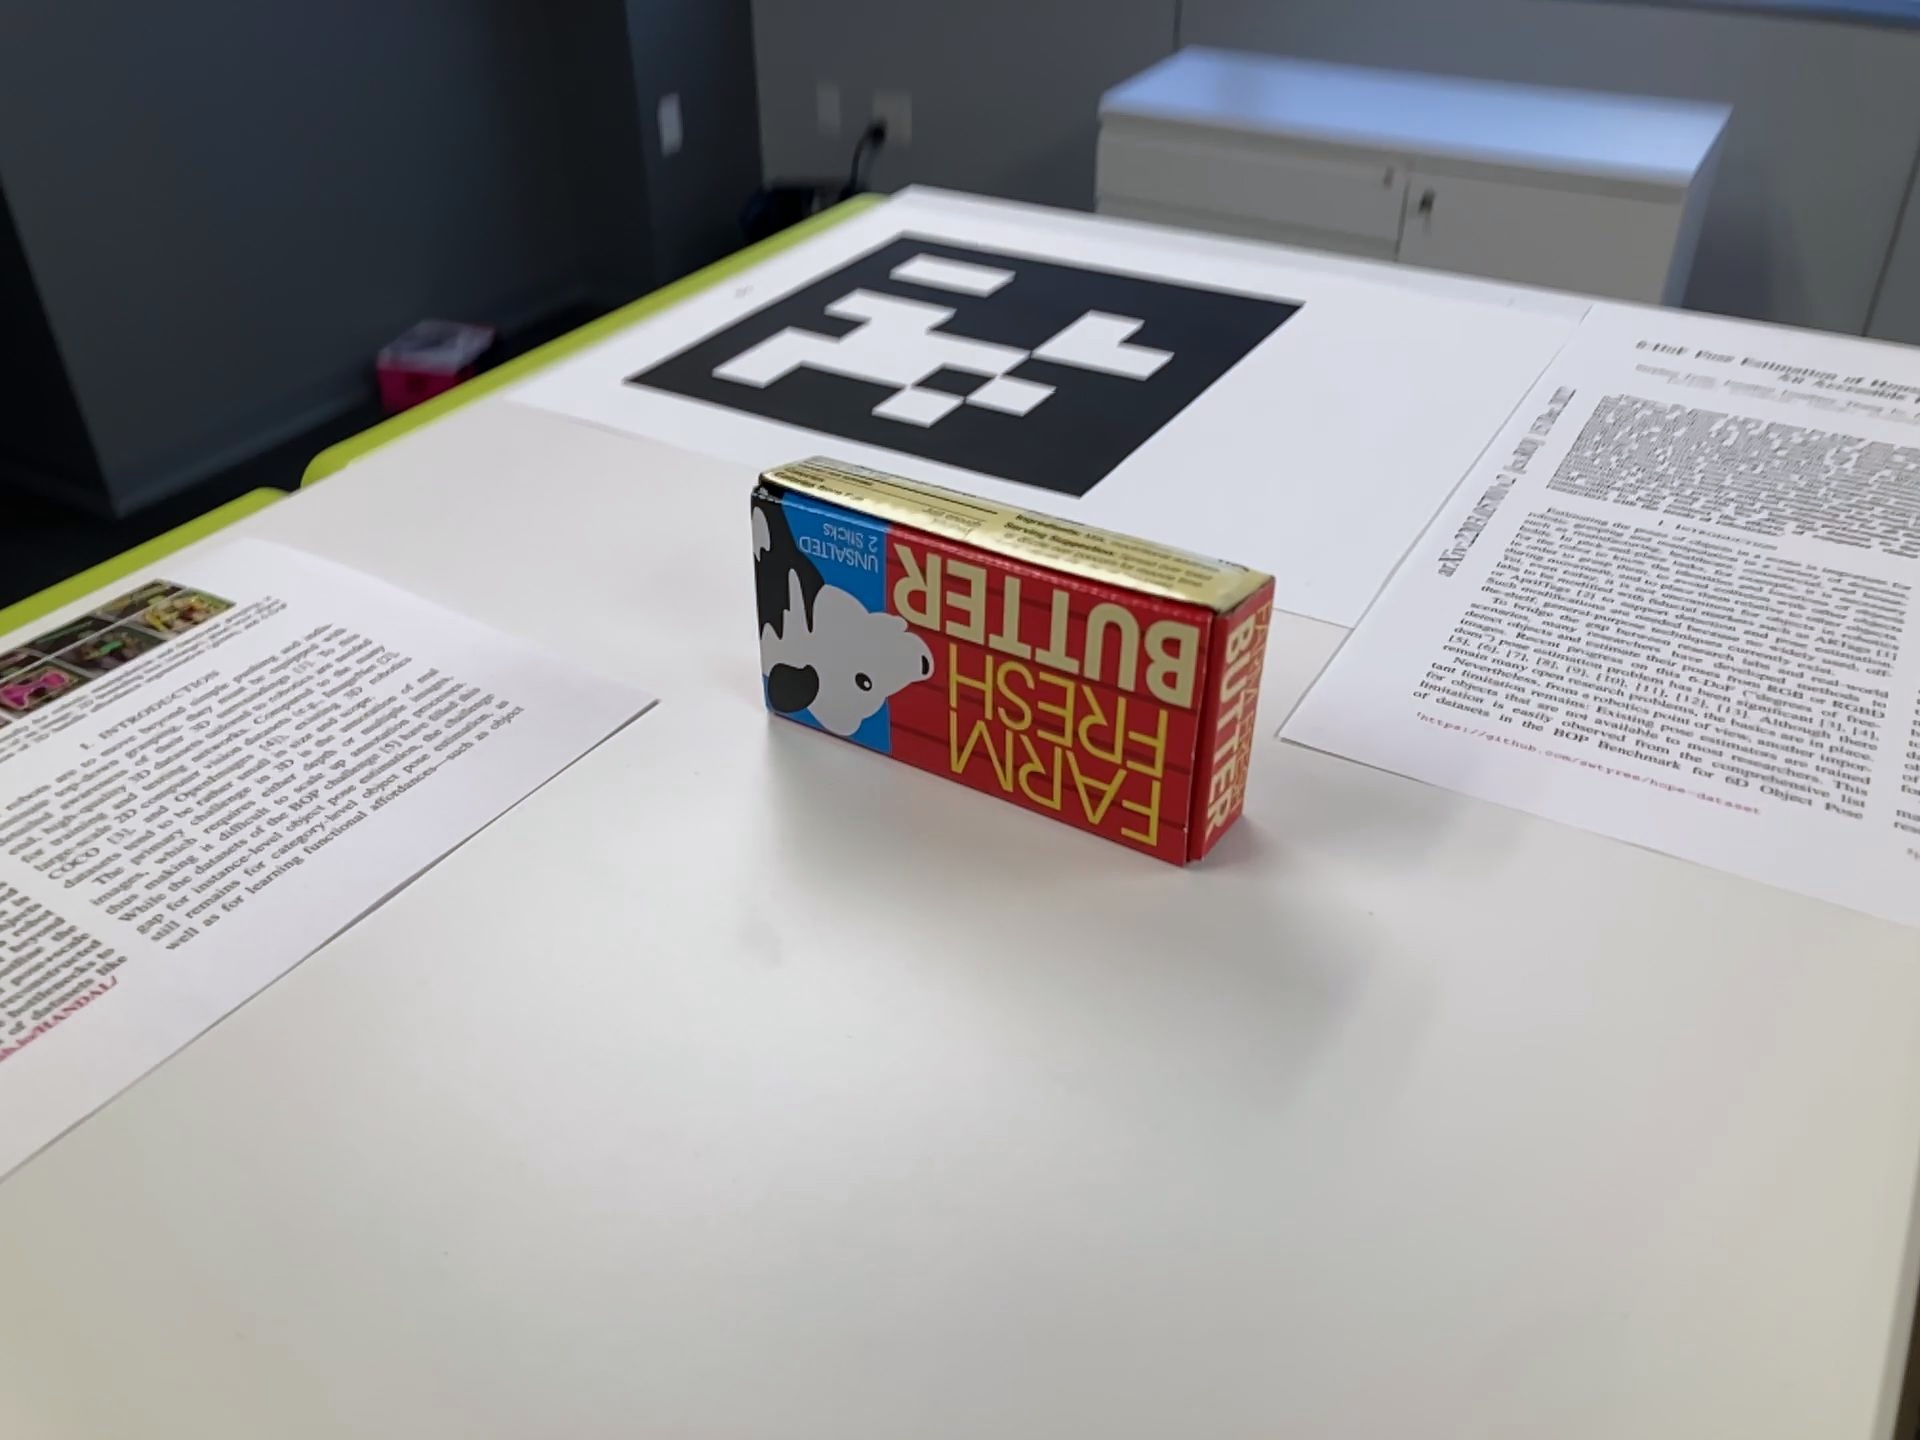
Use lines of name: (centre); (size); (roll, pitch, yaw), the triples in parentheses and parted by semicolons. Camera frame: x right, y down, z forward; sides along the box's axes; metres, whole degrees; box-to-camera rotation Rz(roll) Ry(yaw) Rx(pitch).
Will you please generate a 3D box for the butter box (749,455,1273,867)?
butter box: (0.007, -0.014, 0.306); (0.103, 0.053, 0.024); (19, 36, 26)
